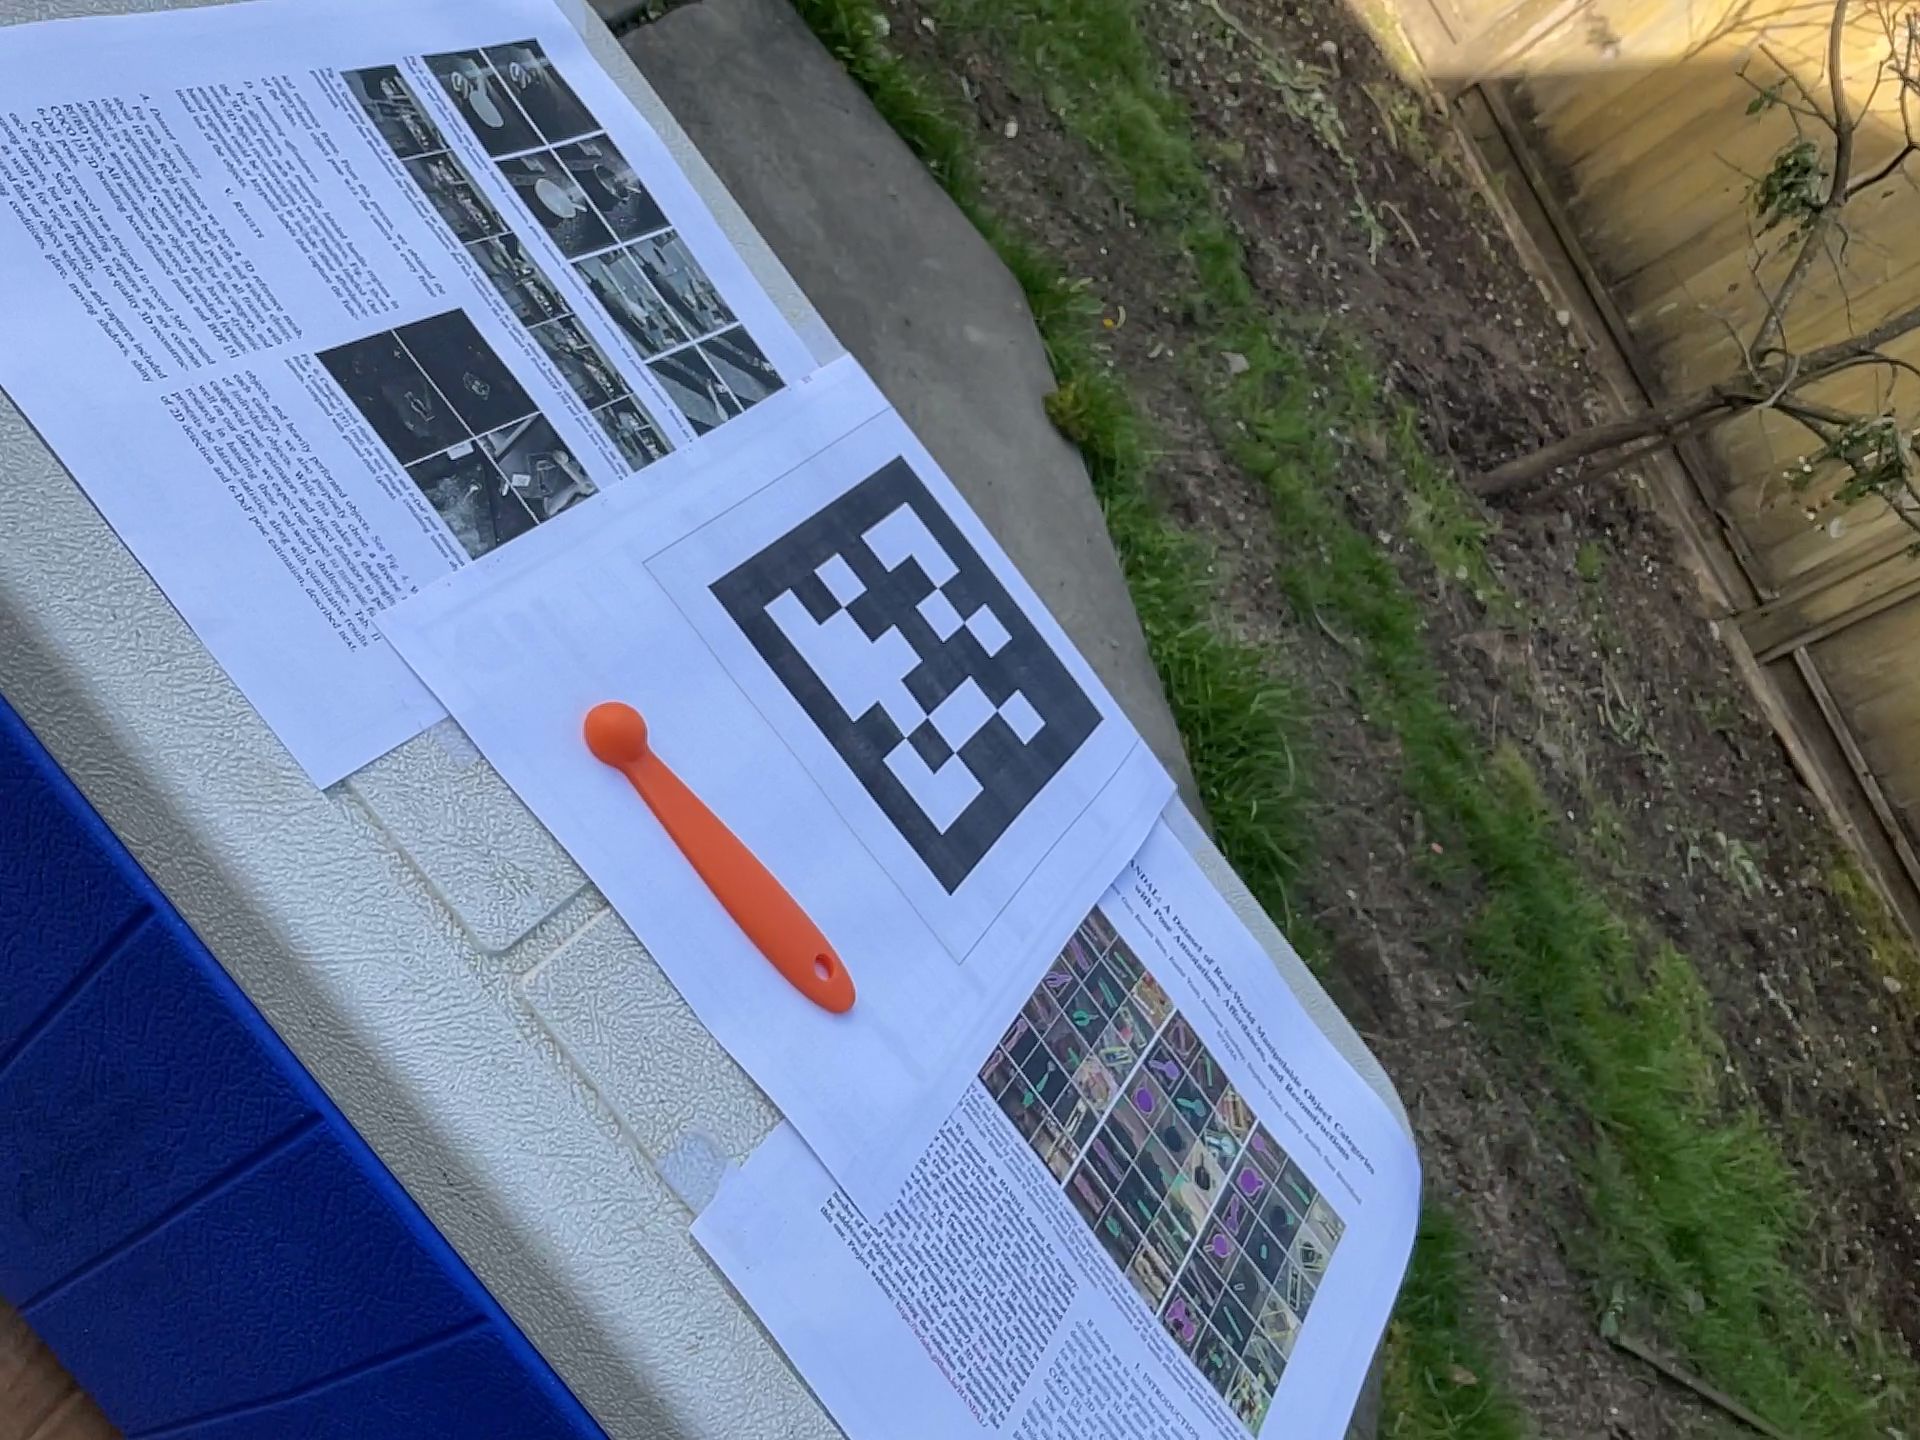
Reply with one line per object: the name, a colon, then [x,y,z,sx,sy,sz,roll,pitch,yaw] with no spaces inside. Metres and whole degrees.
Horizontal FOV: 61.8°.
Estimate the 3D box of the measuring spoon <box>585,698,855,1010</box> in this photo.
measuring spoon: [-0.067,0.039,0.469,0.117,0.011,0.021,51,43,-9]
